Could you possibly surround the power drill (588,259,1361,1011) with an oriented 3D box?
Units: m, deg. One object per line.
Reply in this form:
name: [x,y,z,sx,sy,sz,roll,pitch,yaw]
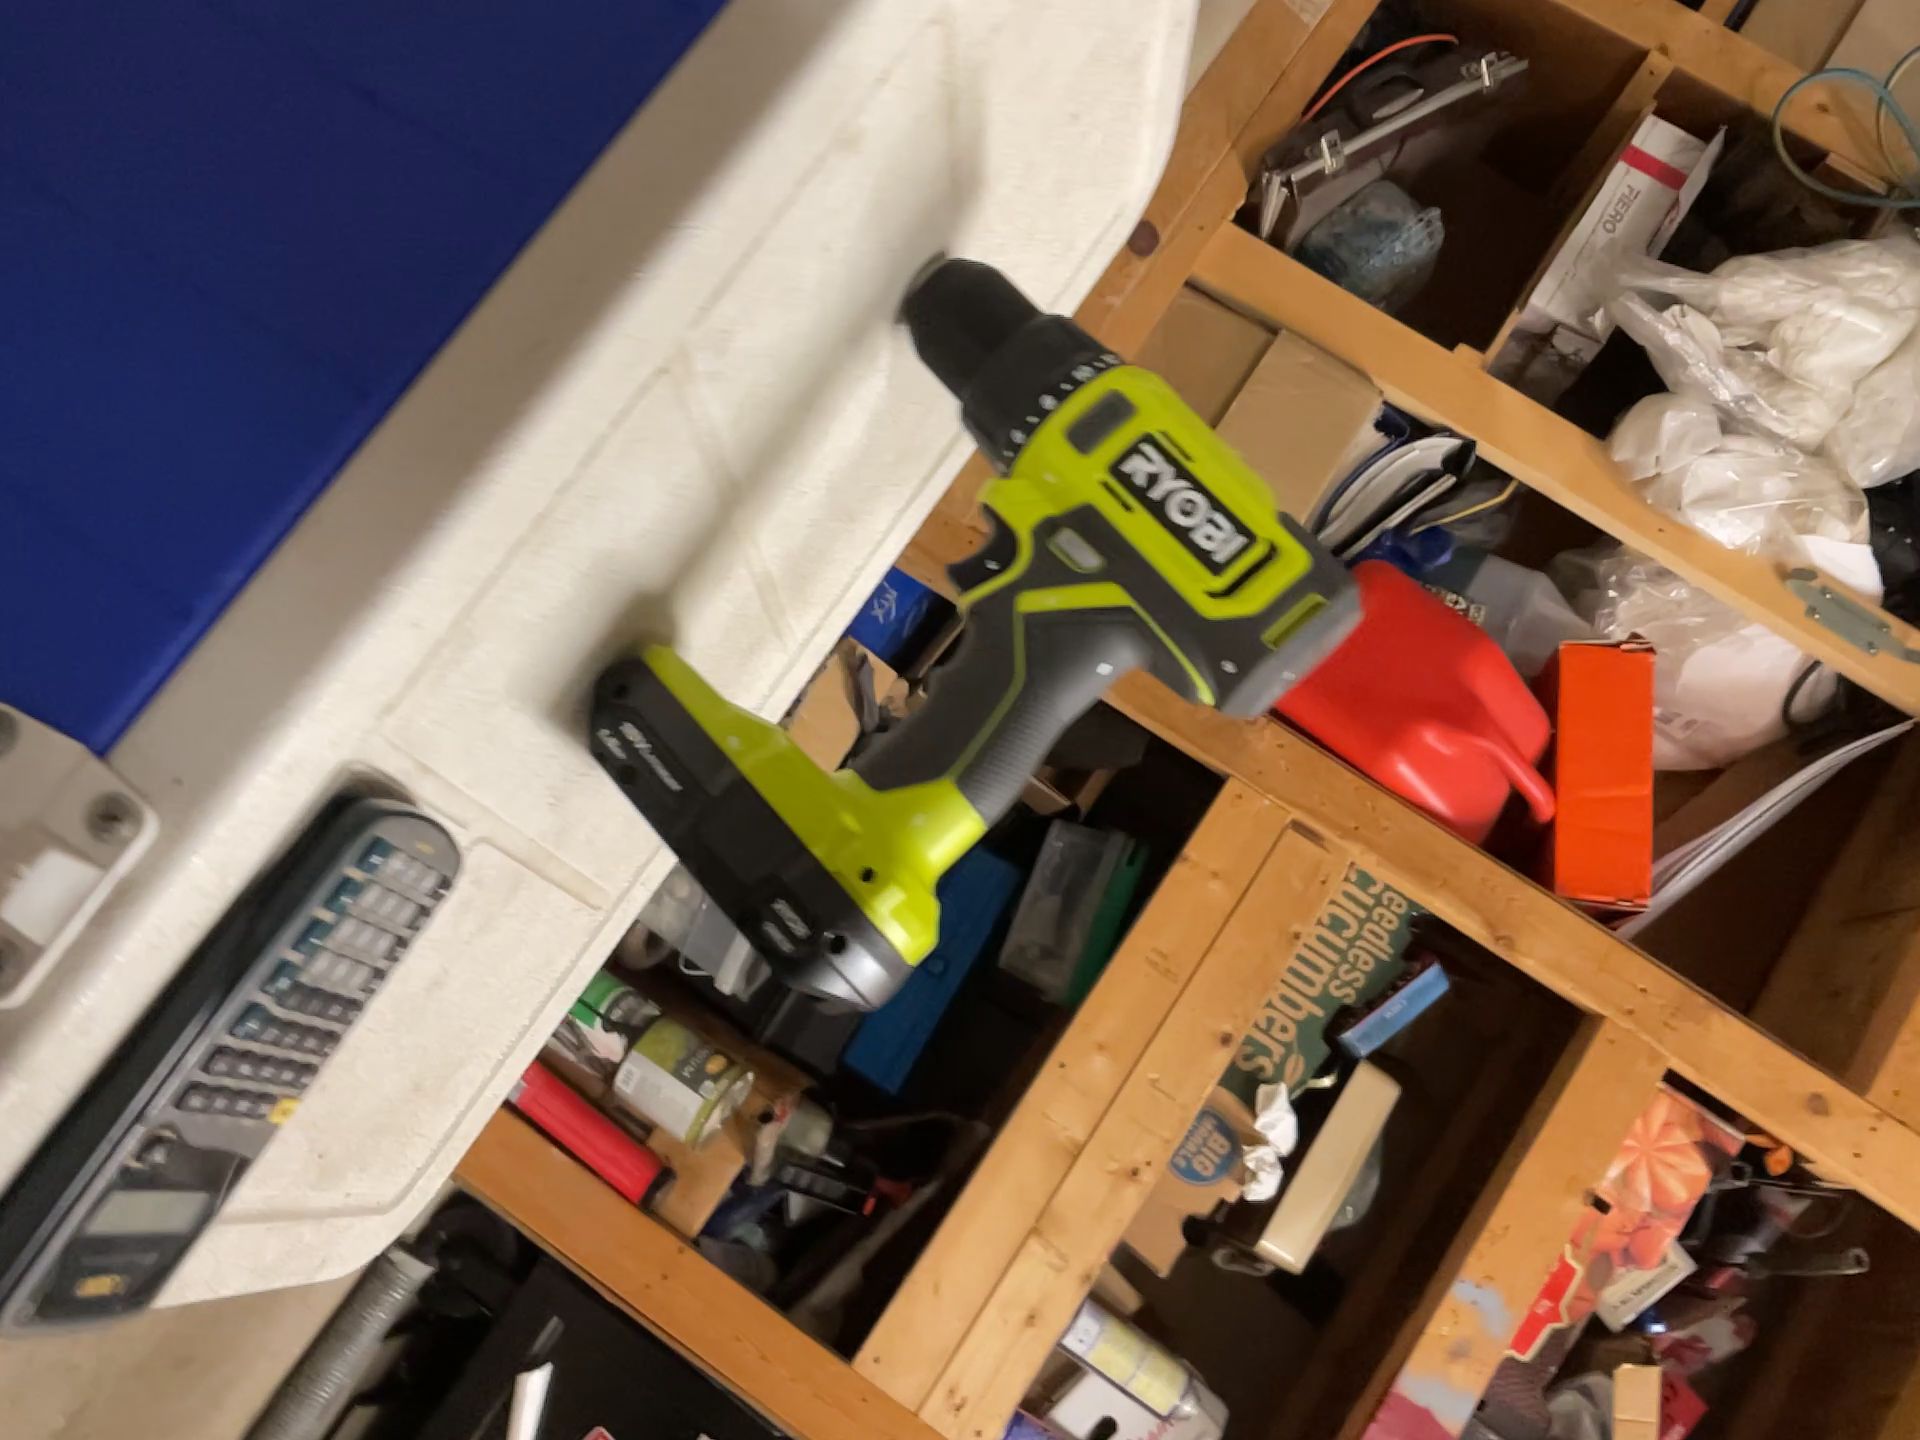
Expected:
power drill: [-0.008,-0.034,0.539,0.228,0.190,0.080,-41,168,-7]
